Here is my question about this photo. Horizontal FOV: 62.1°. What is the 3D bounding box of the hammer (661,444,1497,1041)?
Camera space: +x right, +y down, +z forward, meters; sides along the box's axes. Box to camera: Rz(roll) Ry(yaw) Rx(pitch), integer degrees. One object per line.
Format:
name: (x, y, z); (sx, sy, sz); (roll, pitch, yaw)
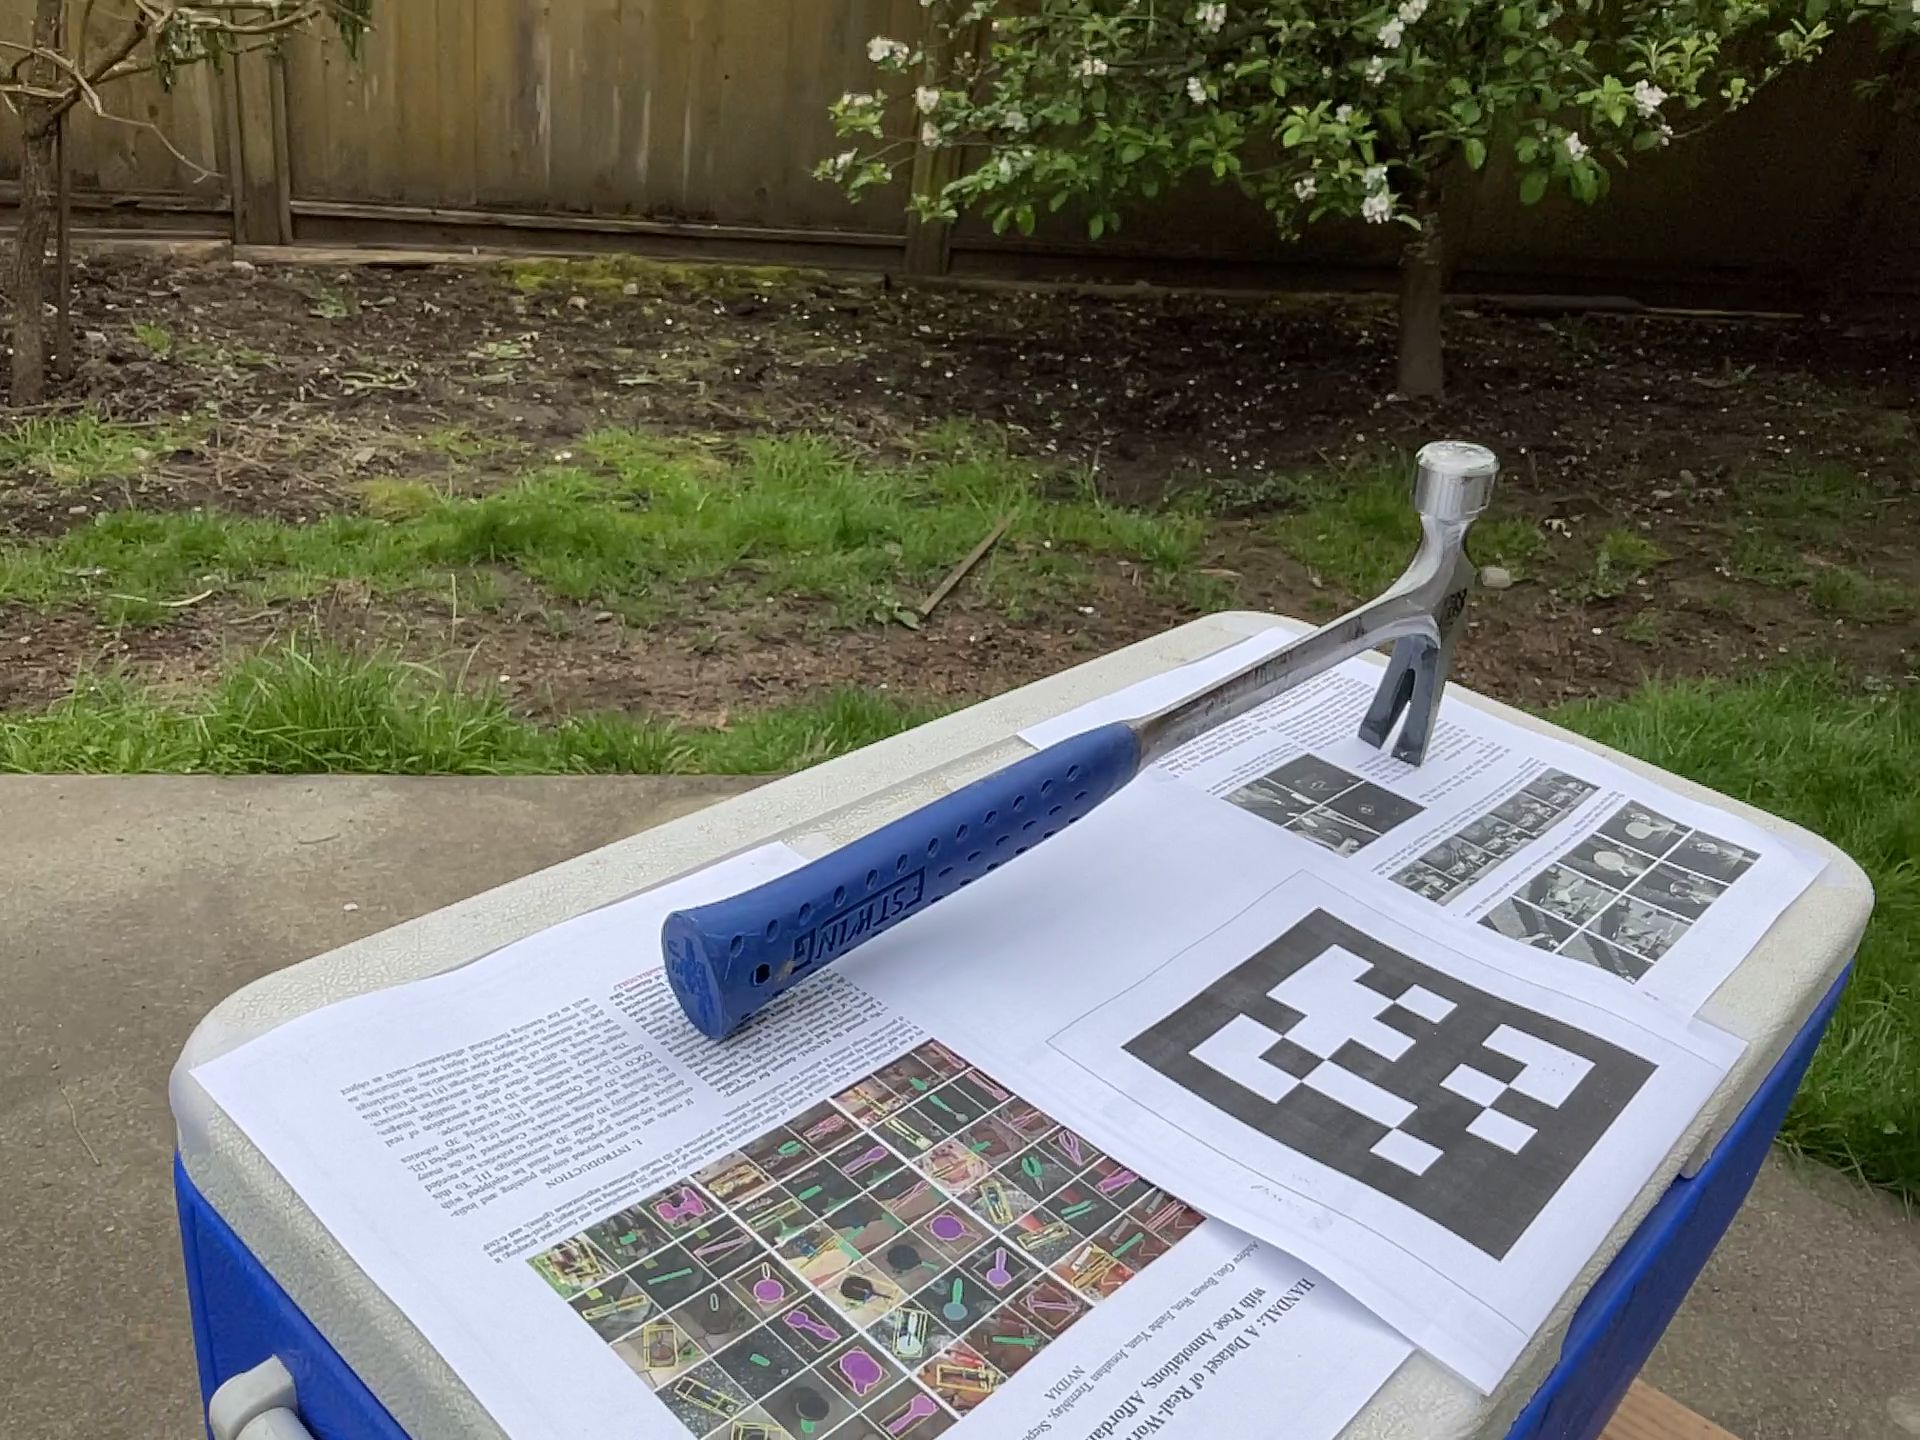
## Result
hammer: (0.070, 0.015, 0.601); (0.405, 0.144, 0.035); (-25, 39, -35)
